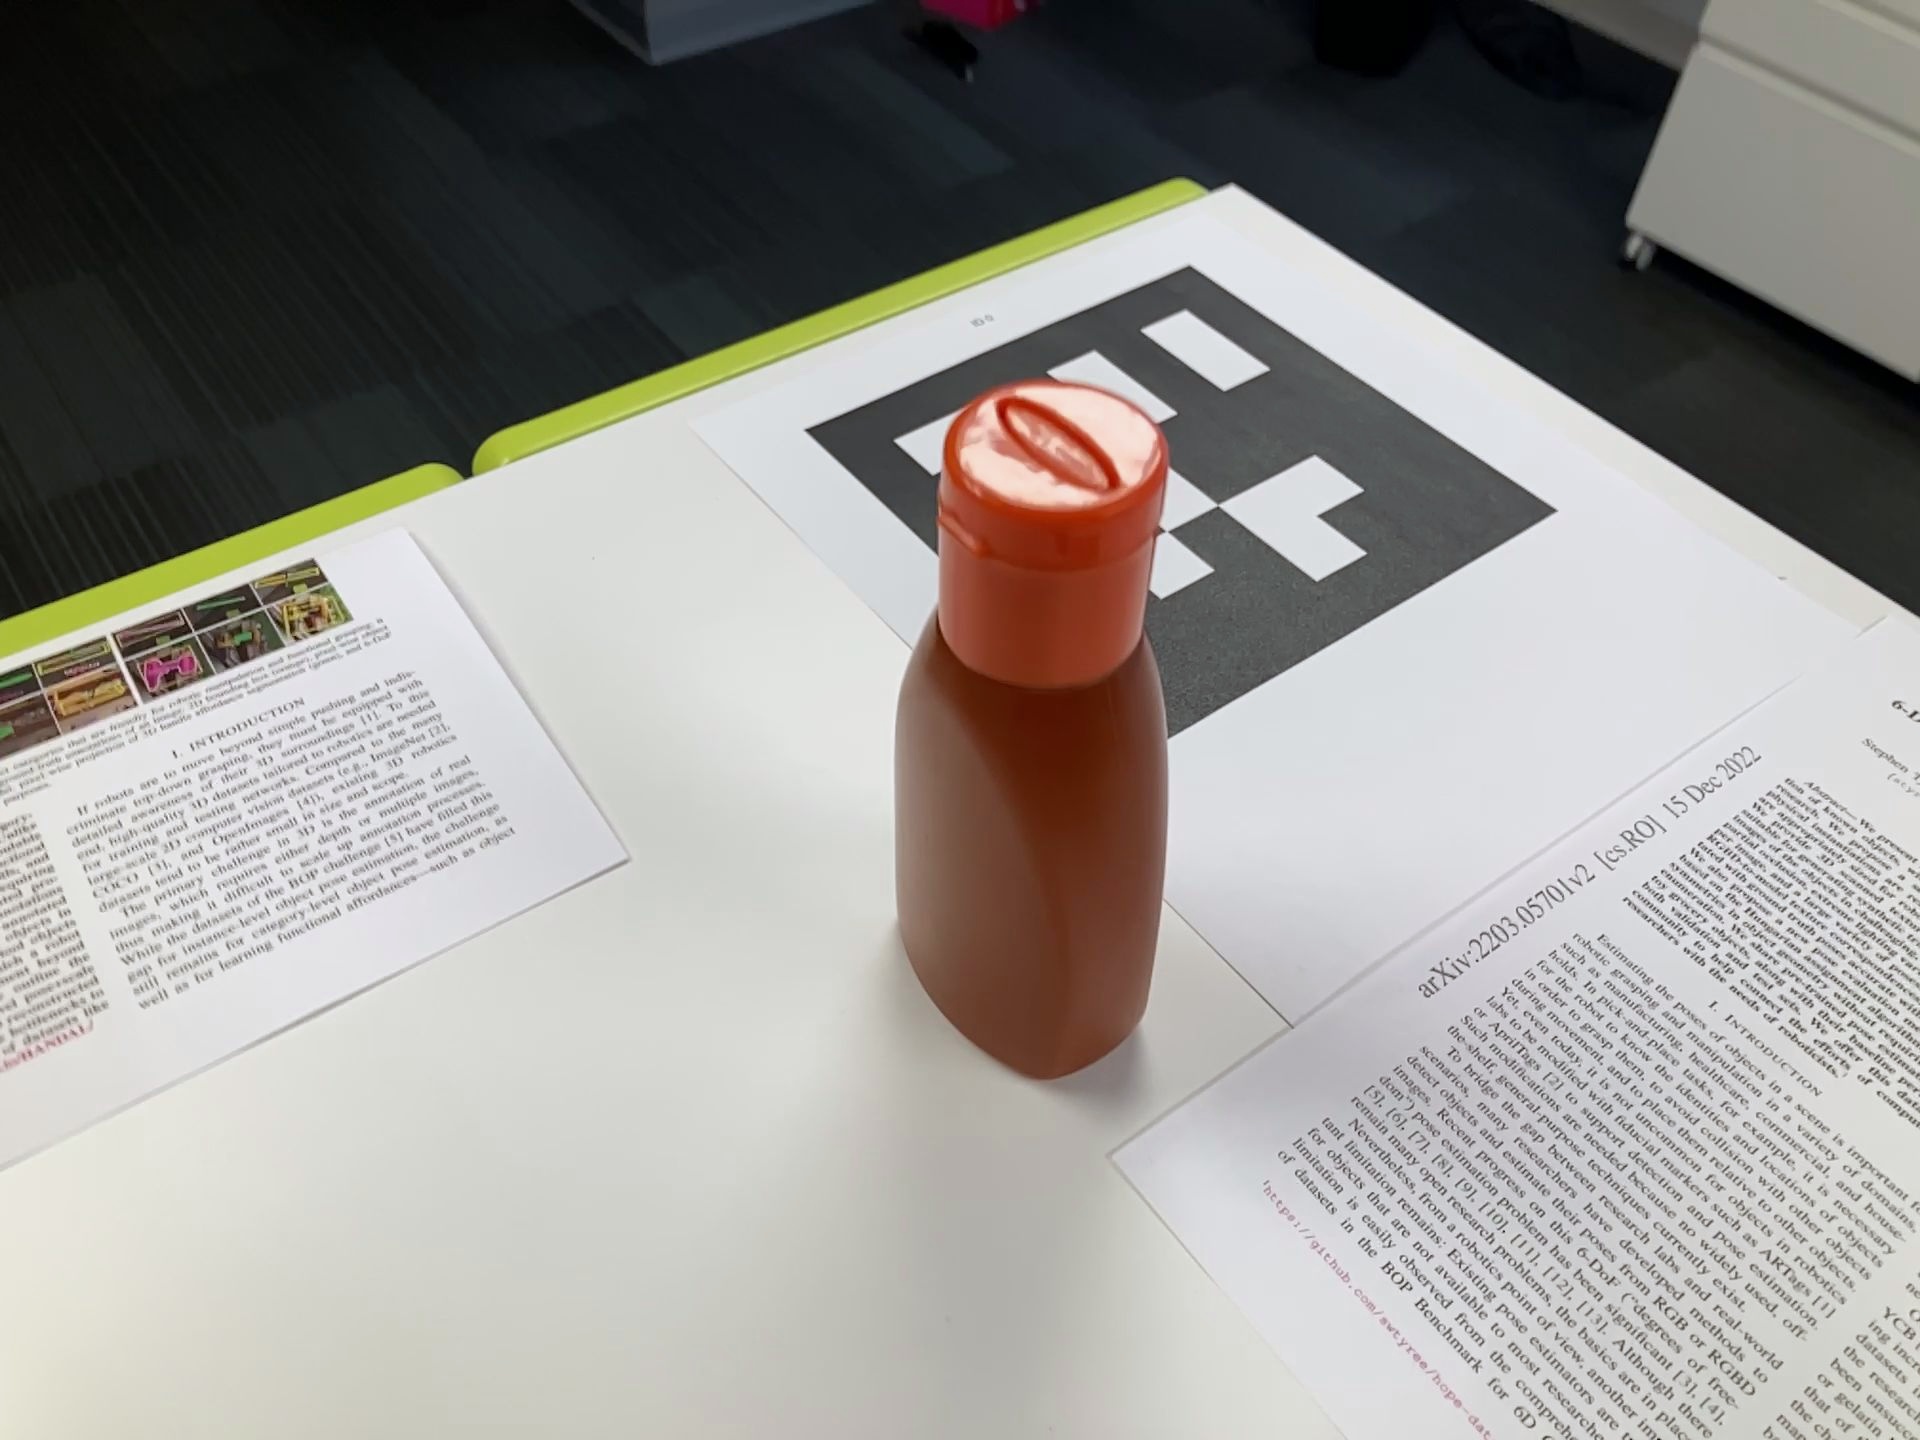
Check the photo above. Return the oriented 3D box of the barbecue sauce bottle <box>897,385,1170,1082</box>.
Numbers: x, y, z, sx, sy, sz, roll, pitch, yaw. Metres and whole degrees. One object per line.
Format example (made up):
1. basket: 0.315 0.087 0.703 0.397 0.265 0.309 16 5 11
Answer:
1. barbecue sauce bottle: 0.014 0.007 0.305 0.043 0.148 0.065 -27 53 -23
